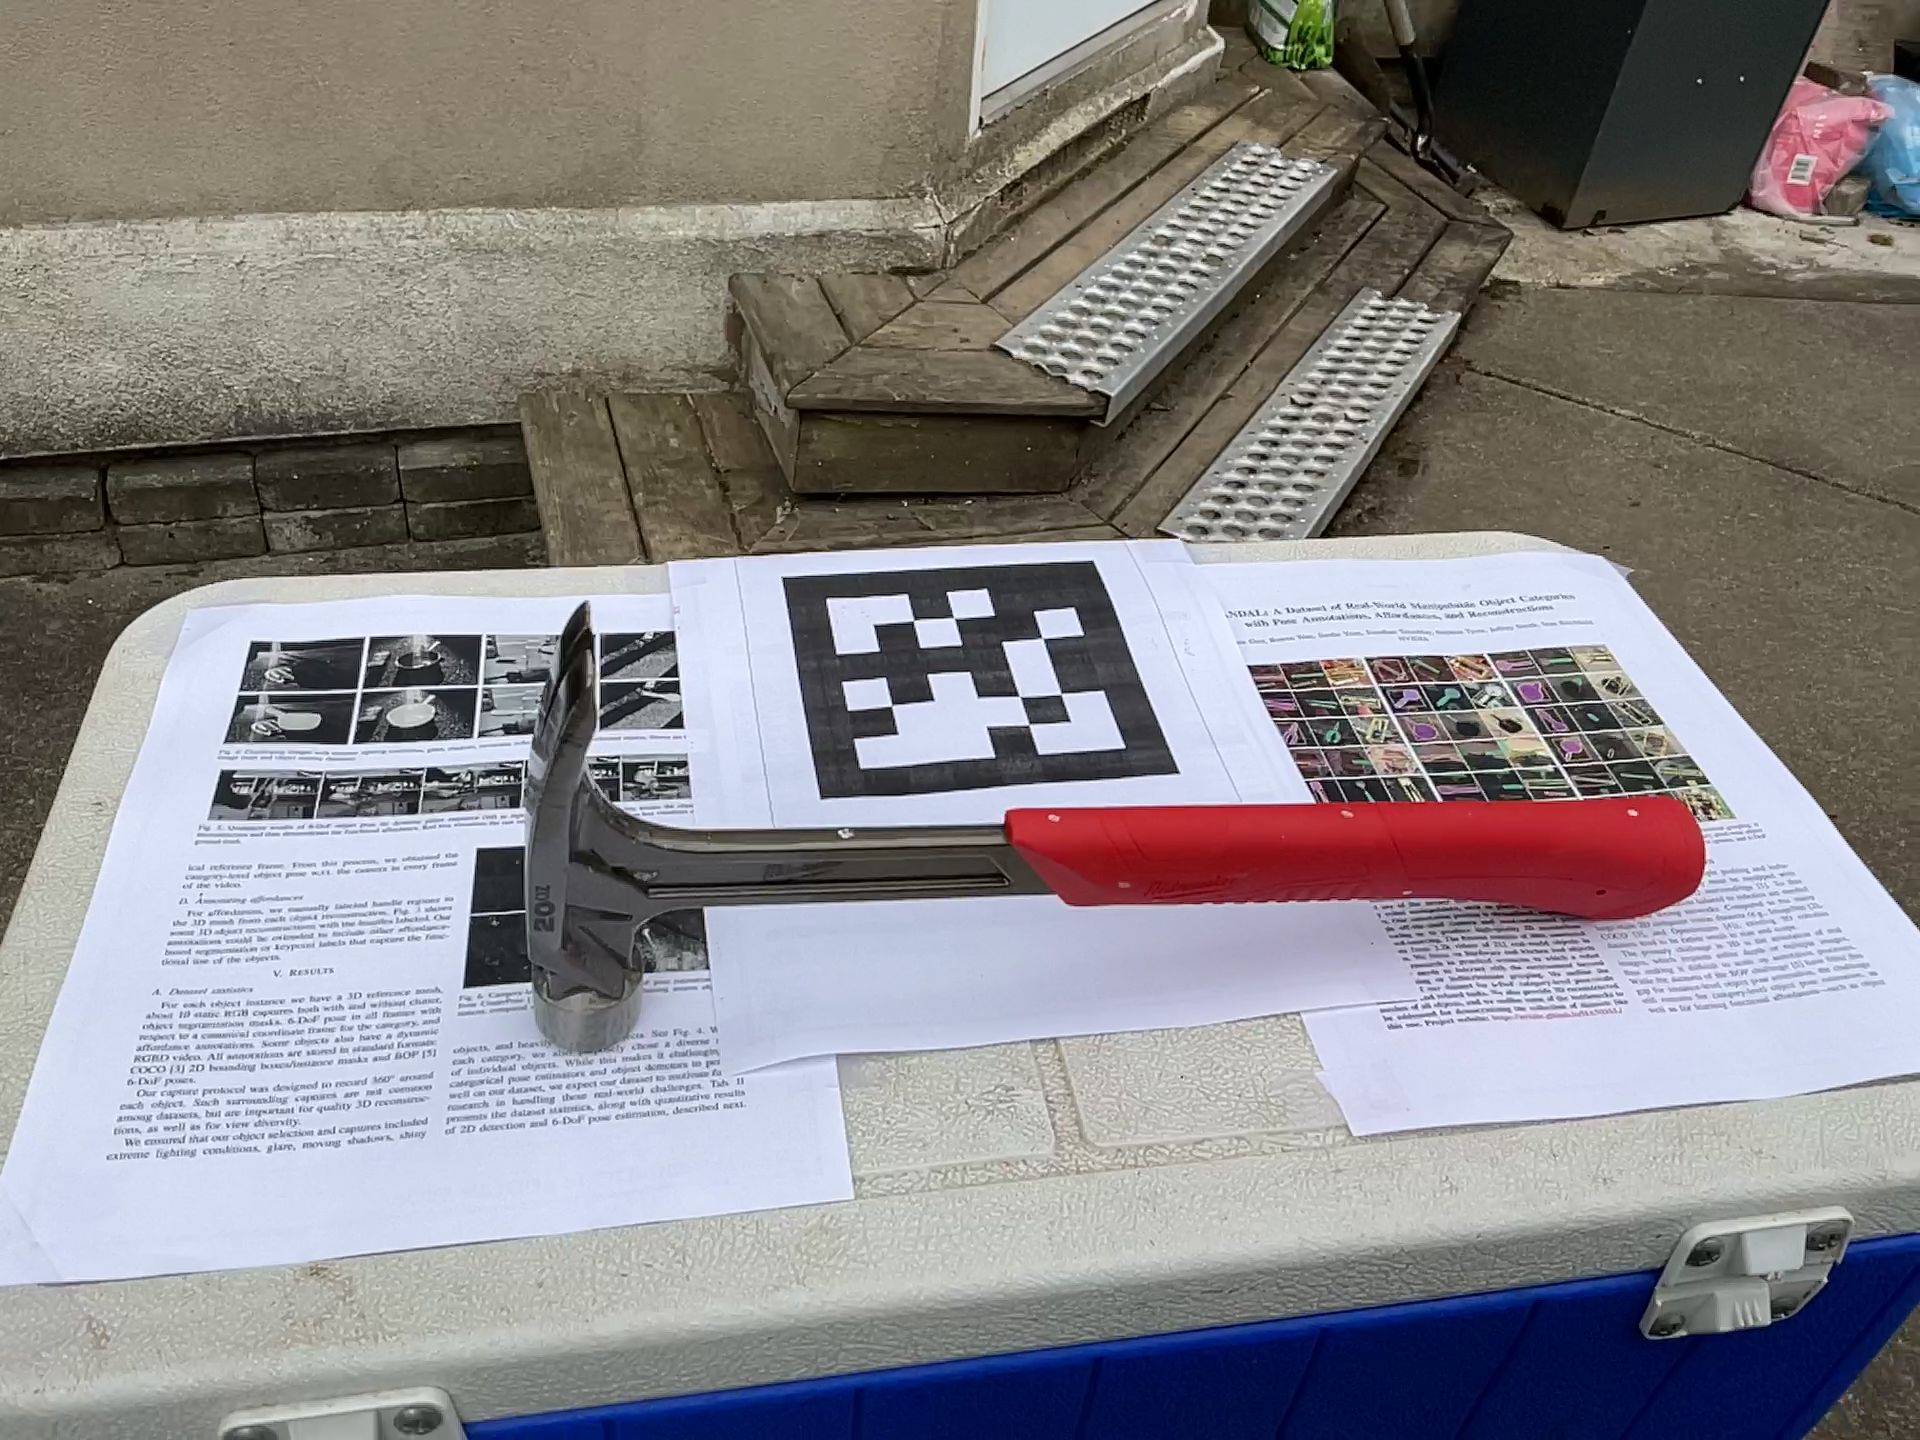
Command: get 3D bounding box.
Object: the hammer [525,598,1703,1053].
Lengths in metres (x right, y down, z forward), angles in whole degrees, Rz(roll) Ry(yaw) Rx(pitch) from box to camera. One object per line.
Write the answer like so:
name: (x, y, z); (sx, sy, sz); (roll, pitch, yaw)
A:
hammer: (0.060, 0.034, 0.463); (0.359, 0.149, 0.037); (0, 45, -16)
